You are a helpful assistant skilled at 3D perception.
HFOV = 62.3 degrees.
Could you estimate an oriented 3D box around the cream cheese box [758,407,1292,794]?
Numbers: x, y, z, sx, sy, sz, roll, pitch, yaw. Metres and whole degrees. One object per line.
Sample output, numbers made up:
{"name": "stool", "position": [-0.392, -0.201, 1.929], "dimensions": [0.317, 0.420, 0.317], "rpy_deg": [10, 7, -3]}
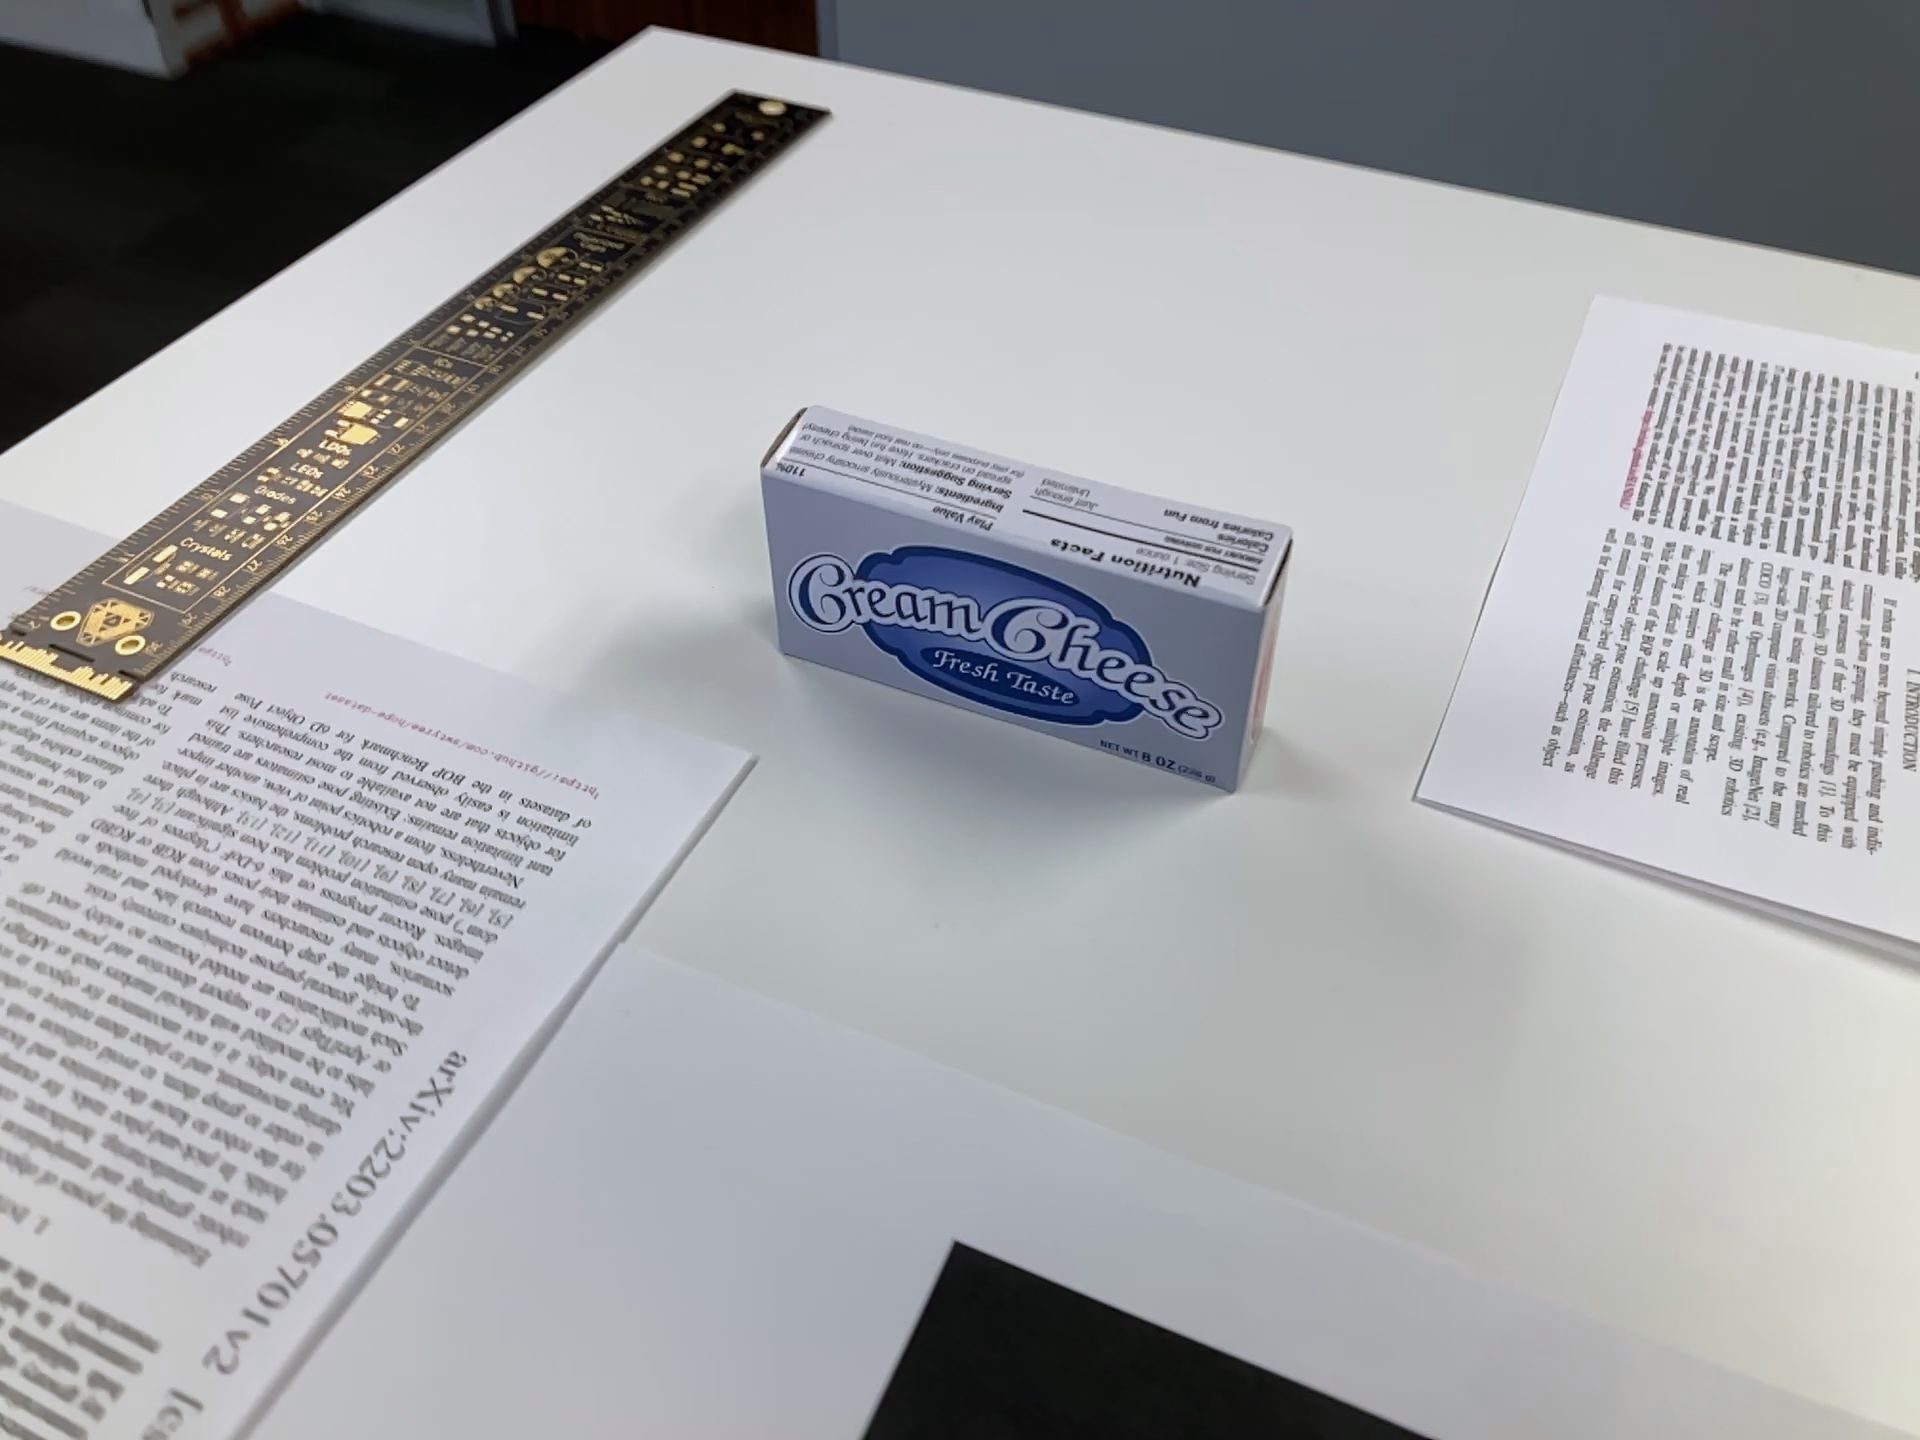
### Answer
{"name": "cream cheese box", "position": [0.011, -0.025, 0.317], "dimensions": [0.104, 0.053, 0.024], "rpy_deg": [17, 49, 16]}
